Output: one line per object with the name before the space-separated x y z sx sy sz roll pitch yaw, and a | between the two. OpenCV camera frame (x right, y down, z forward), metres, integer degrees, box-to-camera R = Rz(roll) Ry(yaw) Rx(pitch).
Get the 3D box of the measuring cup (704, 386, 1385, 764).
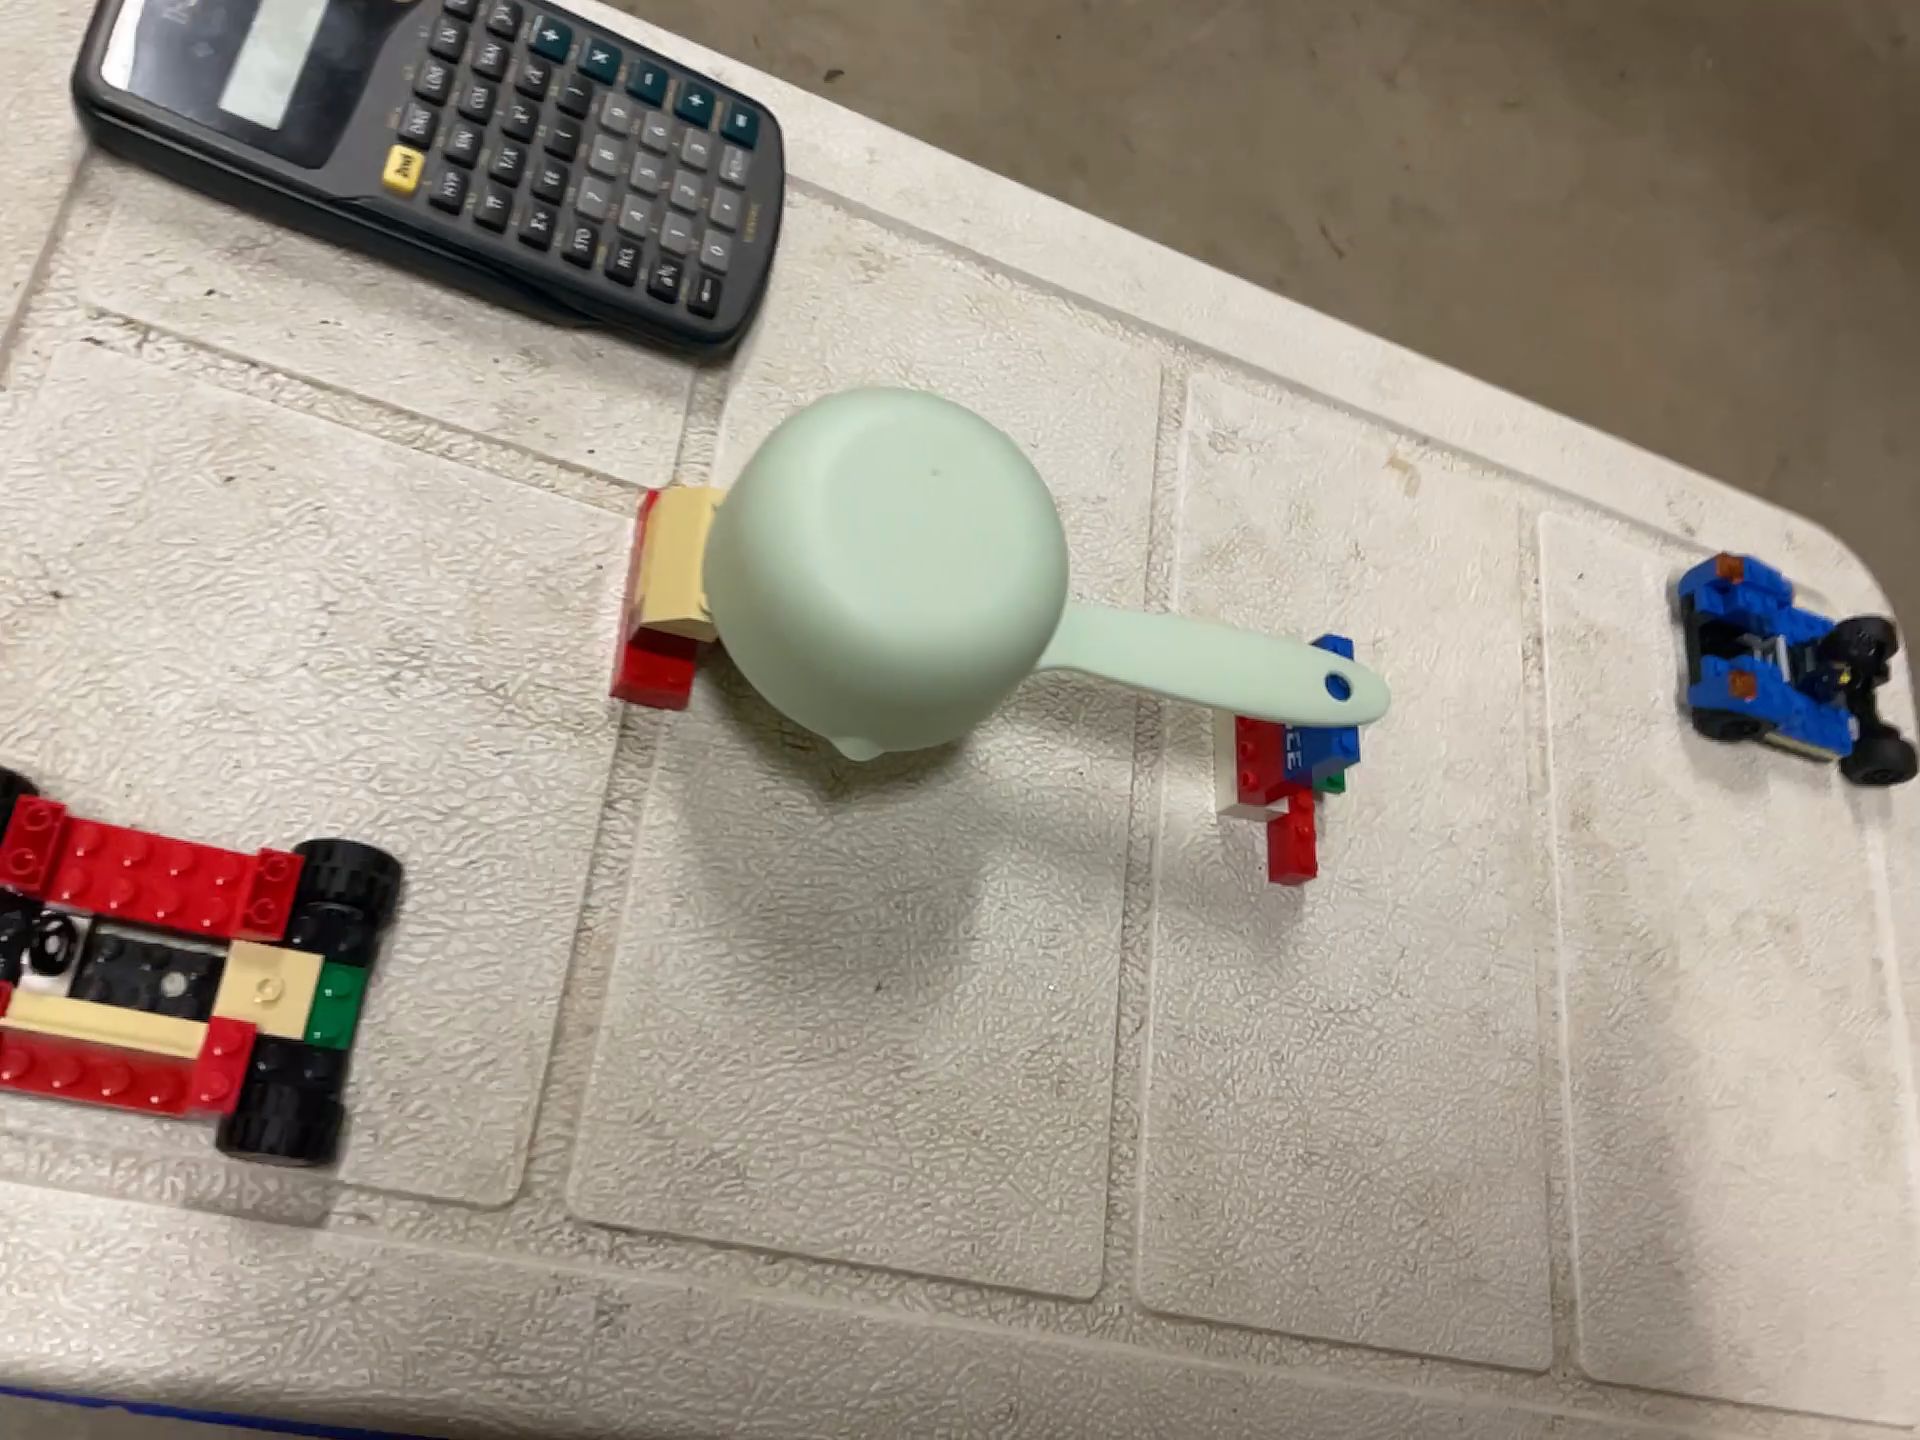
measuring cup | 0.029 -0.026 0.354 0.167 0.038 0.083 12 66 -16
